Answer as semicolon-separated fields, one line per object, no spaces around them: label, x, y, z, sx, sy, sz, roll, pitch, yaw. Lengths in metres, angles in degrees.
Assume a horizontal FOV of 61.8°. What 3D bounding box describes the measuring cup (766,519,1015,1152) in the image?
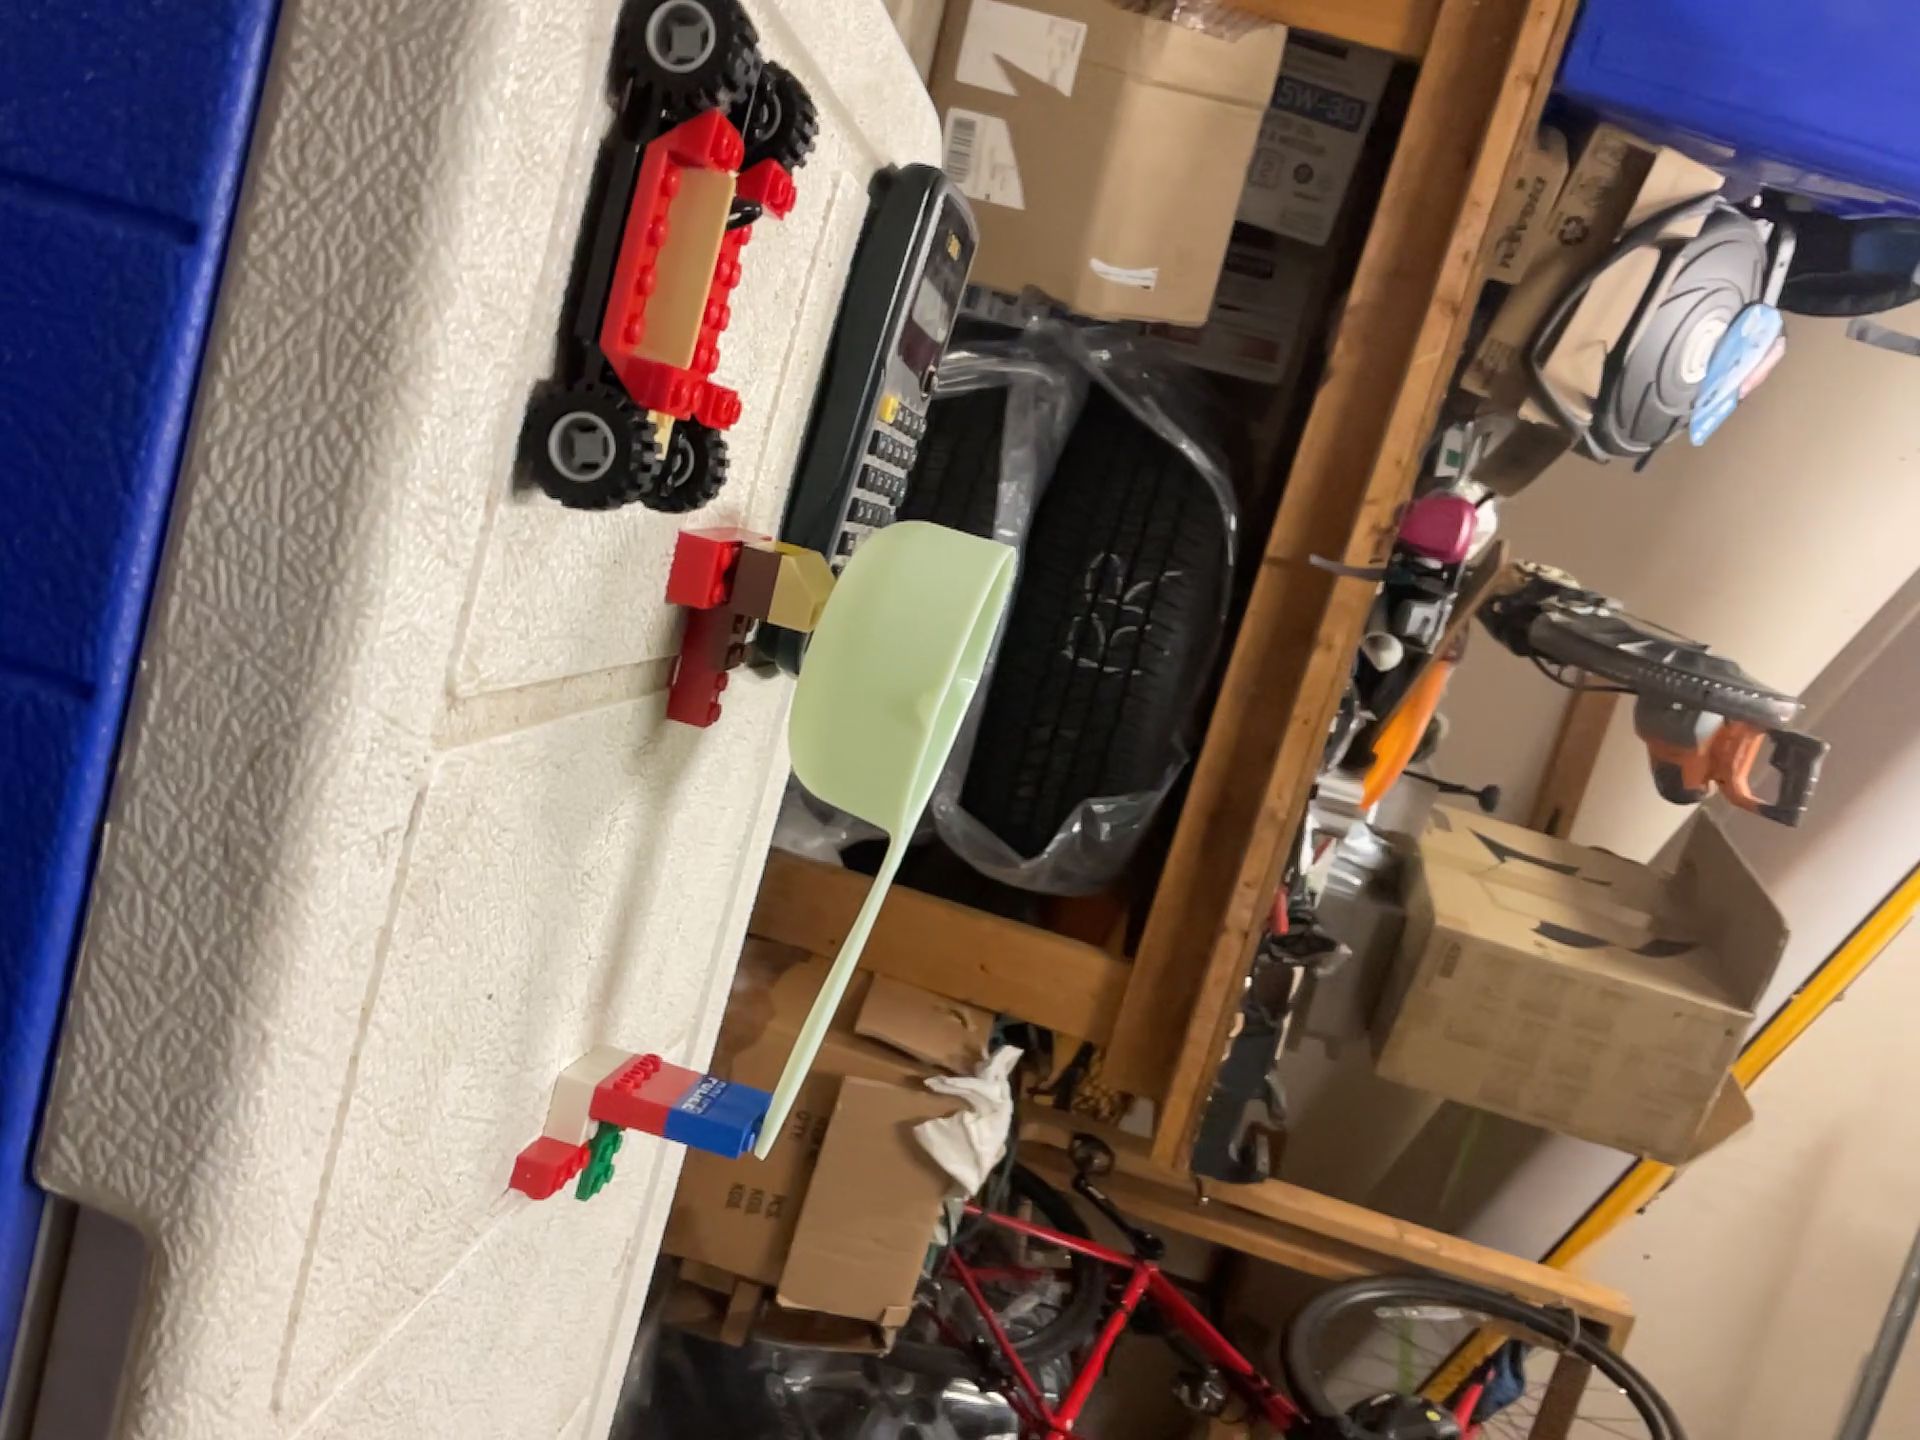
measuring cup;-0.032;0.029;0.402;0.083;0.038;0.167;-49;161;-80
